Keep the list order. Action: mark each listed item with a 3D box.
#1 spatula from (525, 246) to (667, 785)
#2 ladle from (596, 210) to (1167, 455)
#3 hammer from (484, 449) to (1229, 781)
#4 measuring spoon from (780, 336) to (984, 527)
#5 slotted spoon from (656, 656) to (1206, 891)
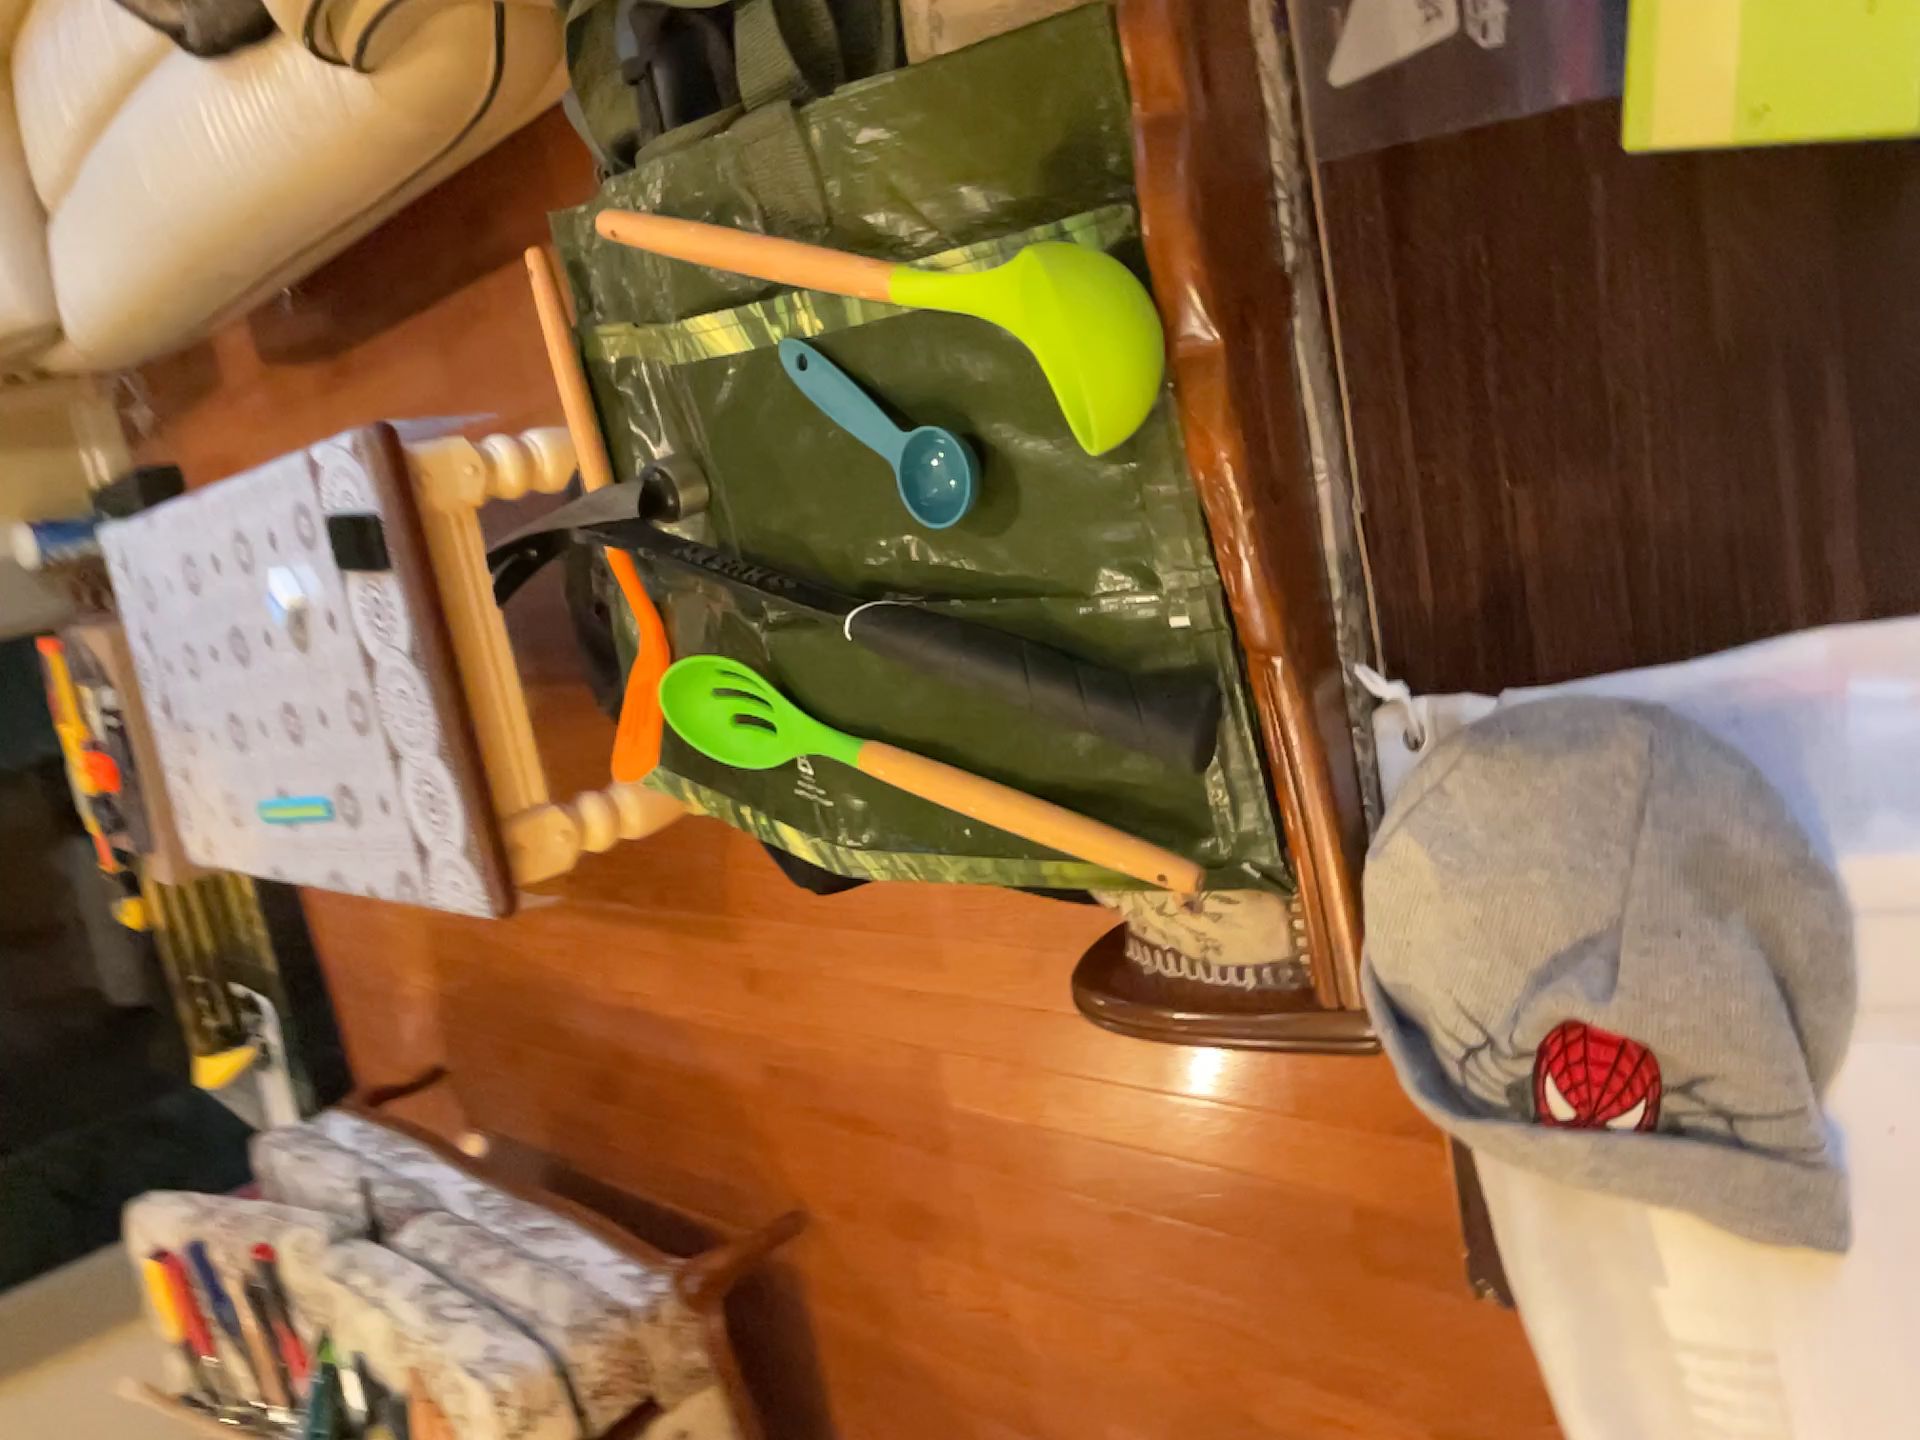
[{"bbox_3d":[-0.219,-0.123,0.942,0.081,0.041,0.322,-15,90,58],"label":"spatula"},{"bbox_3d":[-0.051,-0.176,0.650,0.320,0.062,0.078,22,146,34],"label":"ladle"},{"bbox_3d":[-0.054,-0.049,0.733,0.409,0.149,0.036,21,129,35],"label":"hammer"},{"bbox_3d":[-0.032,-0.129,0.678,0.129,0.021,0.042,44,131,27],"label":"measuring spoon"},{"bbox_3d":[-0.024,0.026,0.749,0.314,0.031,0.070,18,133,33],"label":"slotted spoon"}]
